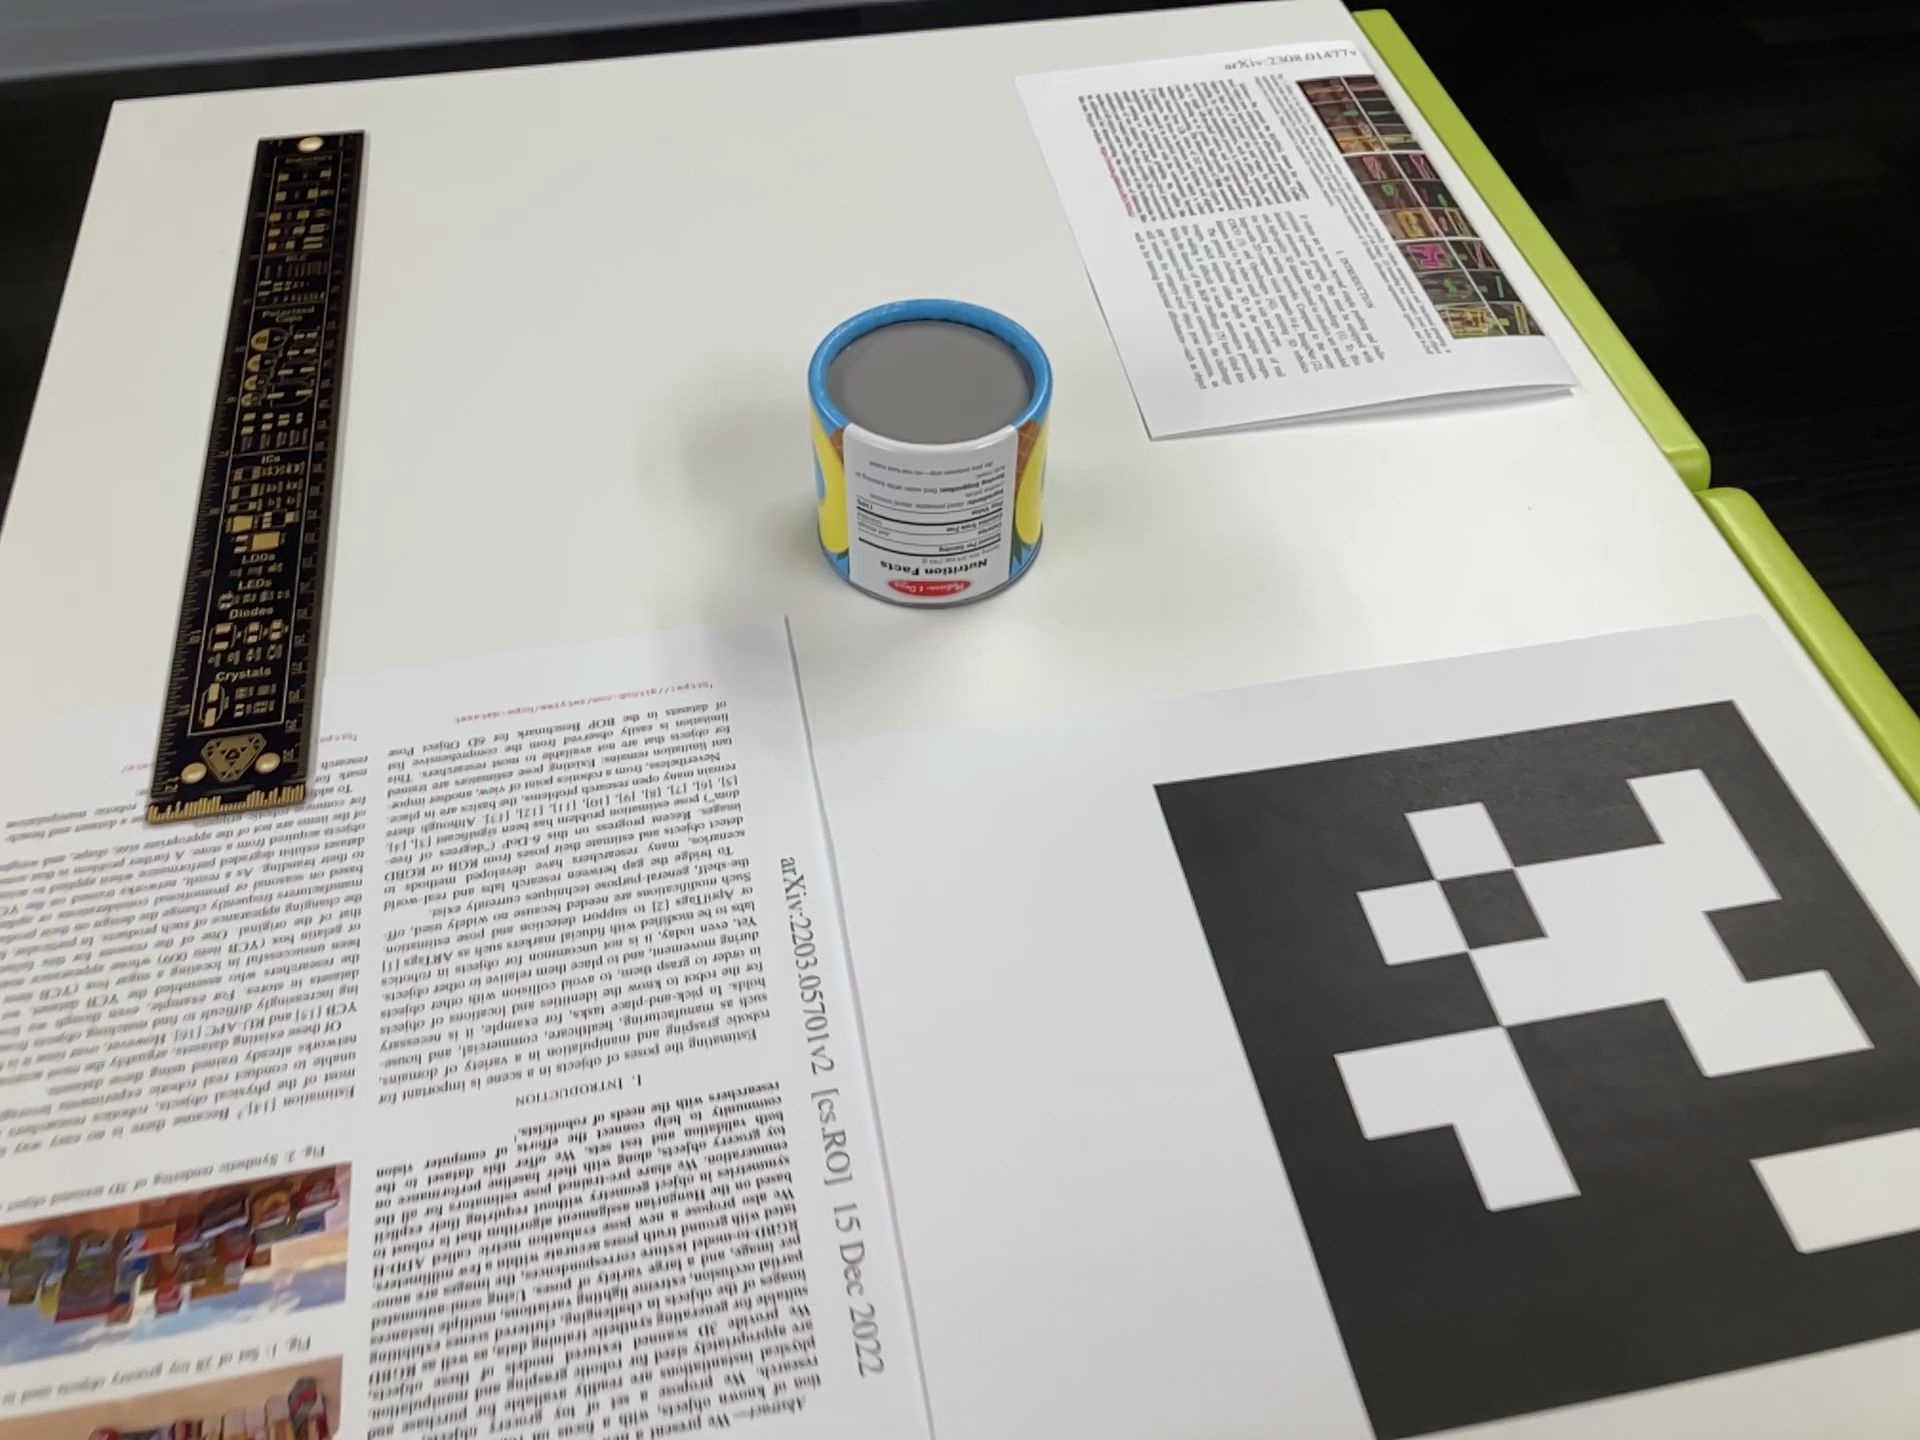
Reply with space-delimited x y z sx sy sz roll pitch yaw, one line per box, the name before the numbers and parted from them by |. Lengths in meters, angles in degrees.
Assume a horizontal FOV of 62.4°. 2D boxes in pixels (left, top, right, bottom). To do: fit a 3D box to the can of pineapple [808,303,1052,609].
can of pineapple | -0.009 -0.076 0.447 0.071 0.058 0.071 1 50 -1
